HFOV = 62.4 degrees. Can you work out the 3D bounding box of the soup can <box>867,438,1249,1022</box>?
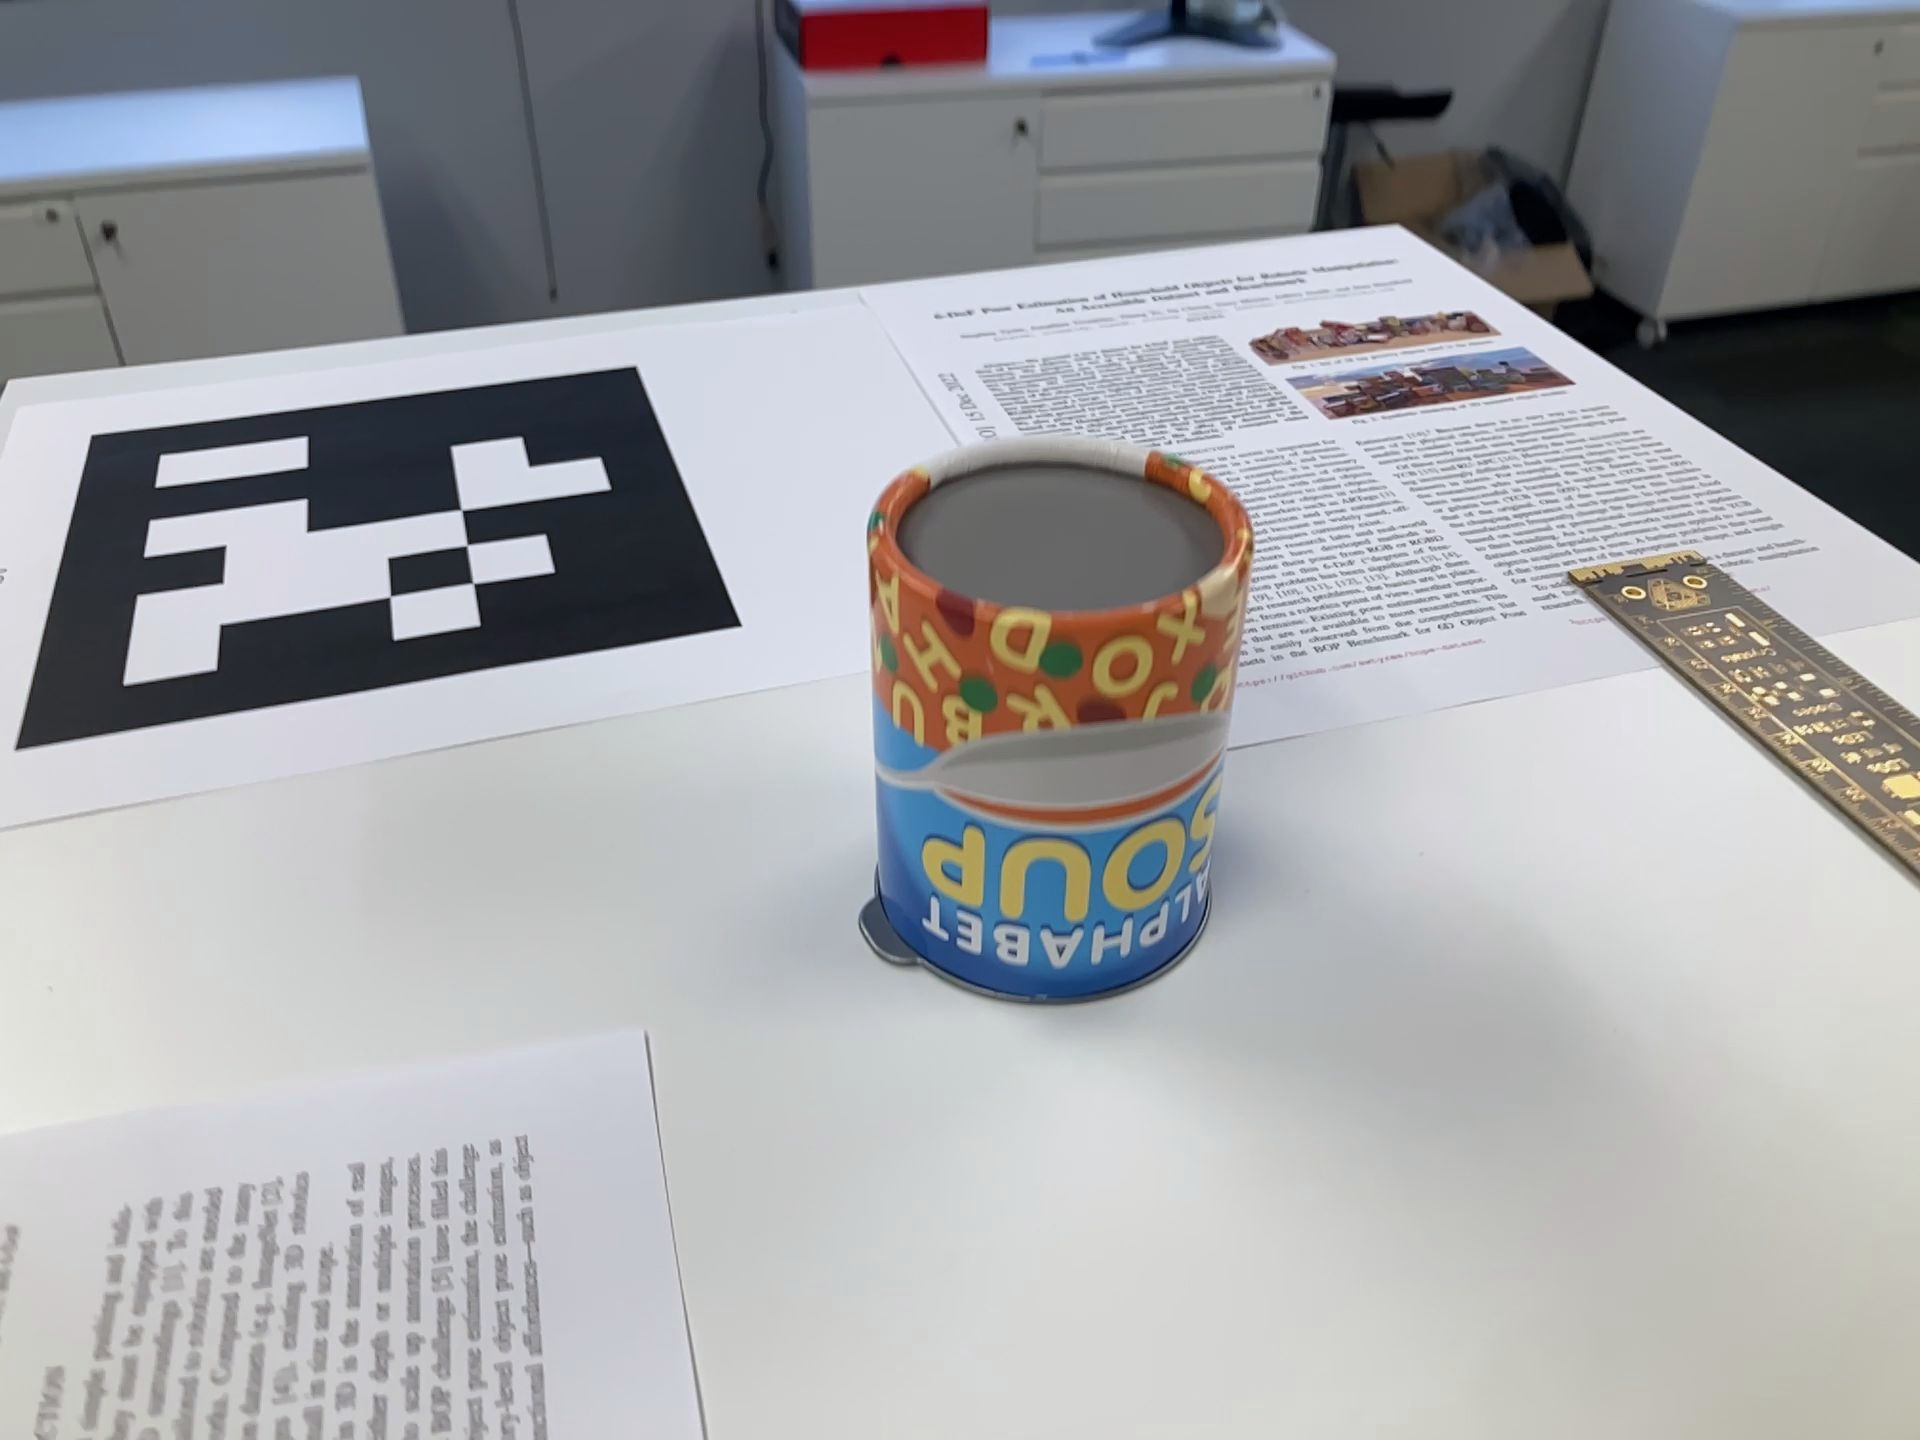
[{"bbox_3d":[0.017,0.001,0.293,0.071,0.084,0.071,0,37,0],"label":"soup can"}]
